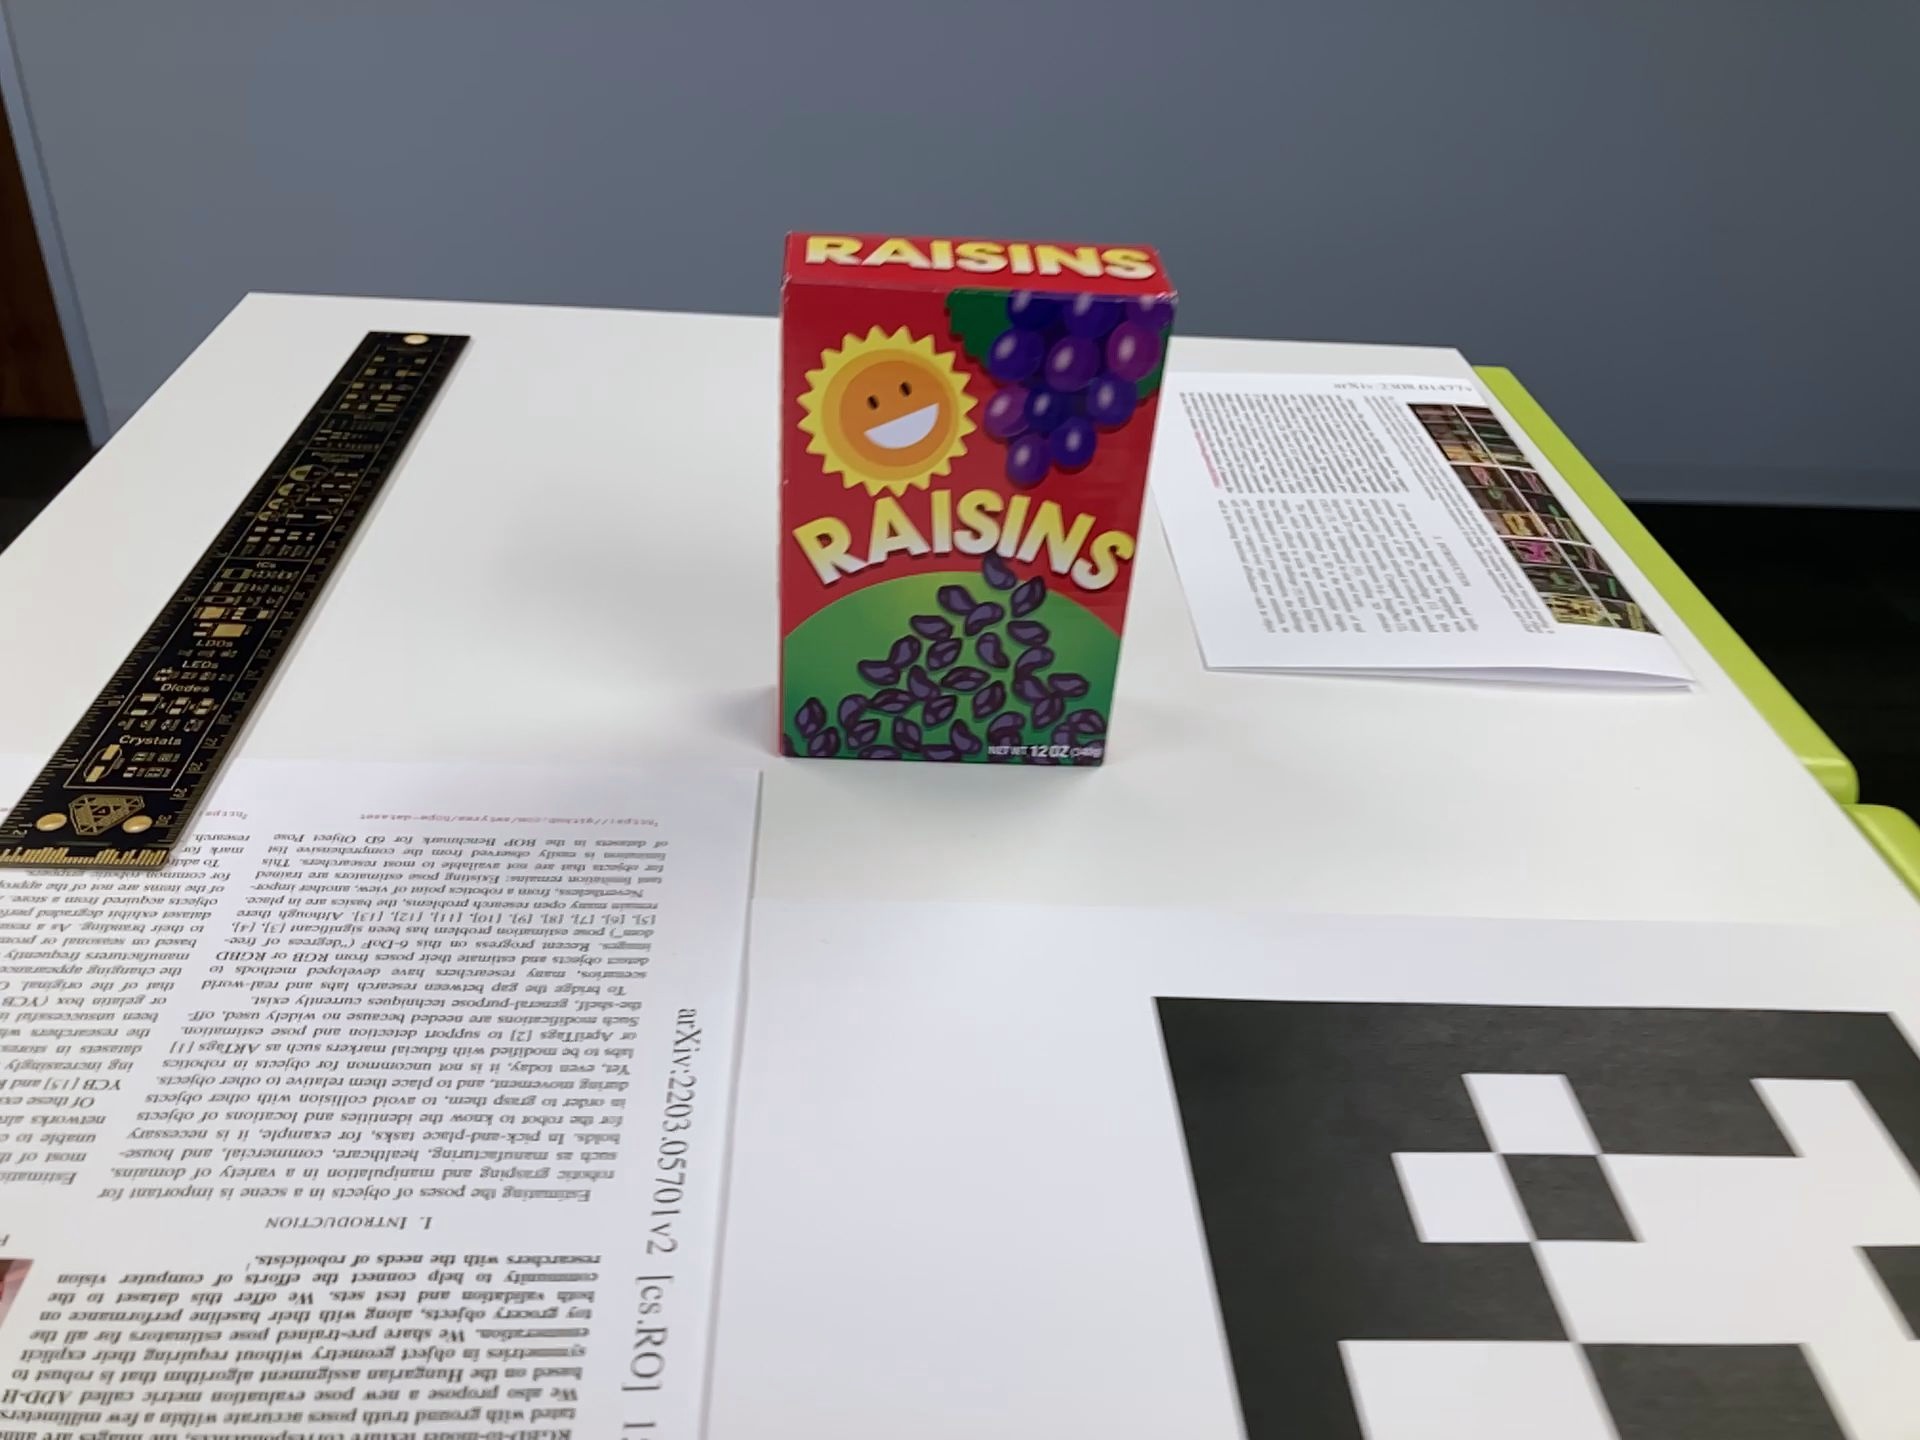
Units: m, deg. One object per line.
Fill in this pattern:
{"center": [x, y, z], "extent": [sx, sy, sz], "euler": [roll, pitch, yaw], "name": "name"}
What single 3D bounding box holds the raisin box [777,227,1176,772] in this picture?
{"center": [0.000, -0.049, 0.378], "extent": [0.086, 0.123, 0.040], "euler": [2, 34, -4], "name": "raisin box"}
